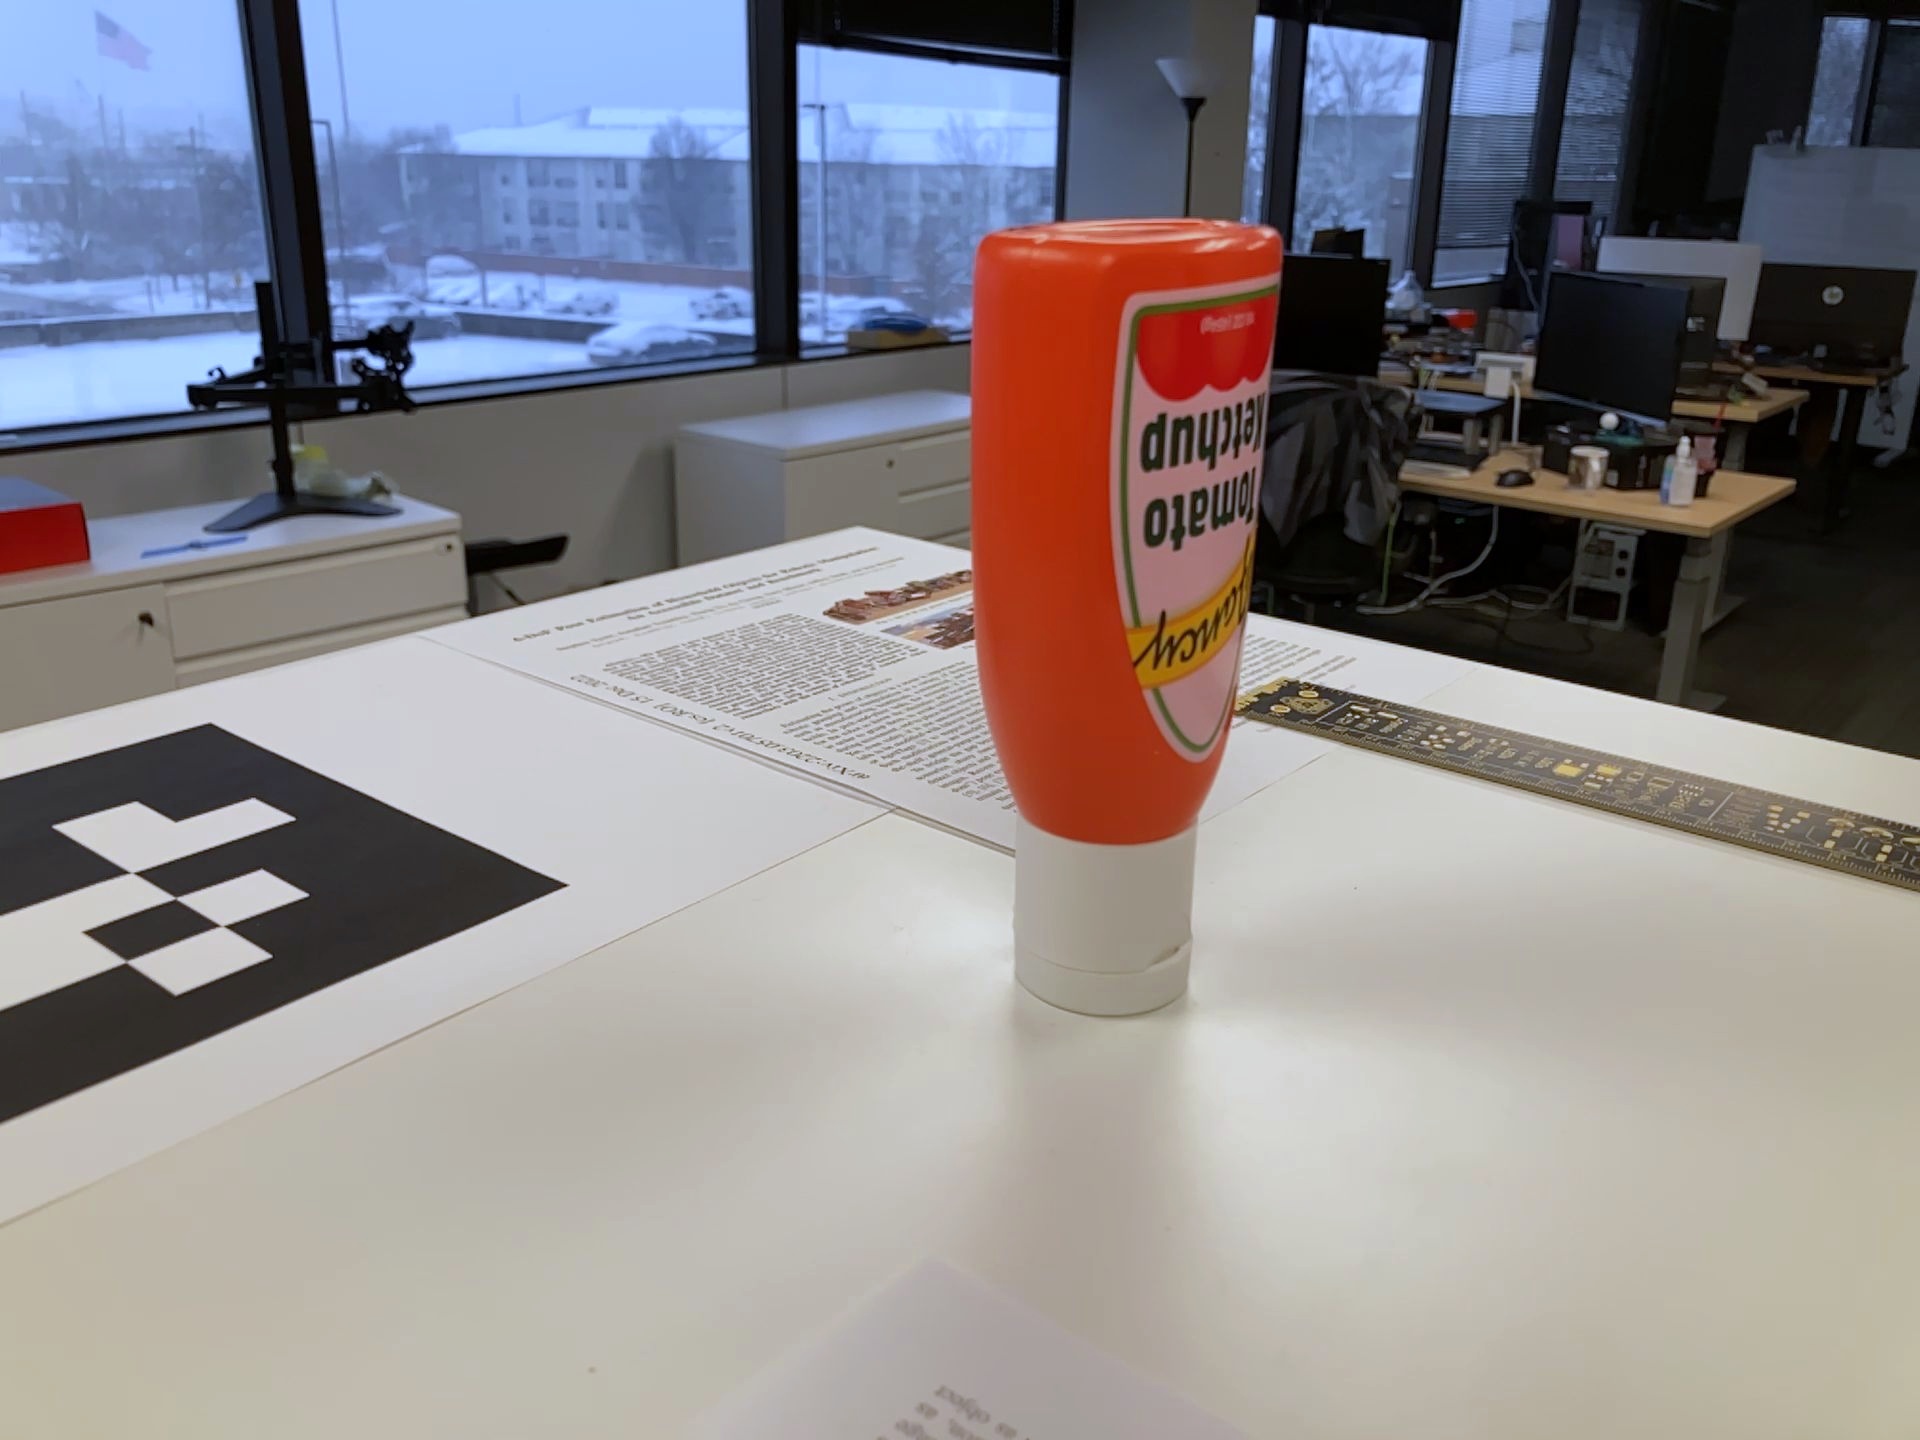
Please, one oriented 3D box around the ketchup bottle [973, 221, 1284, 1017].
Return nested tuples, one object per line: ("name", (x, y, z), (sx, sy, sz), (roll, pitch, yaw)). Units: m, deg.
("ketchup bottle", (0.030, -0.017, 0.303), (0.043, 0.149, 0.065), (17, 25, 37))
